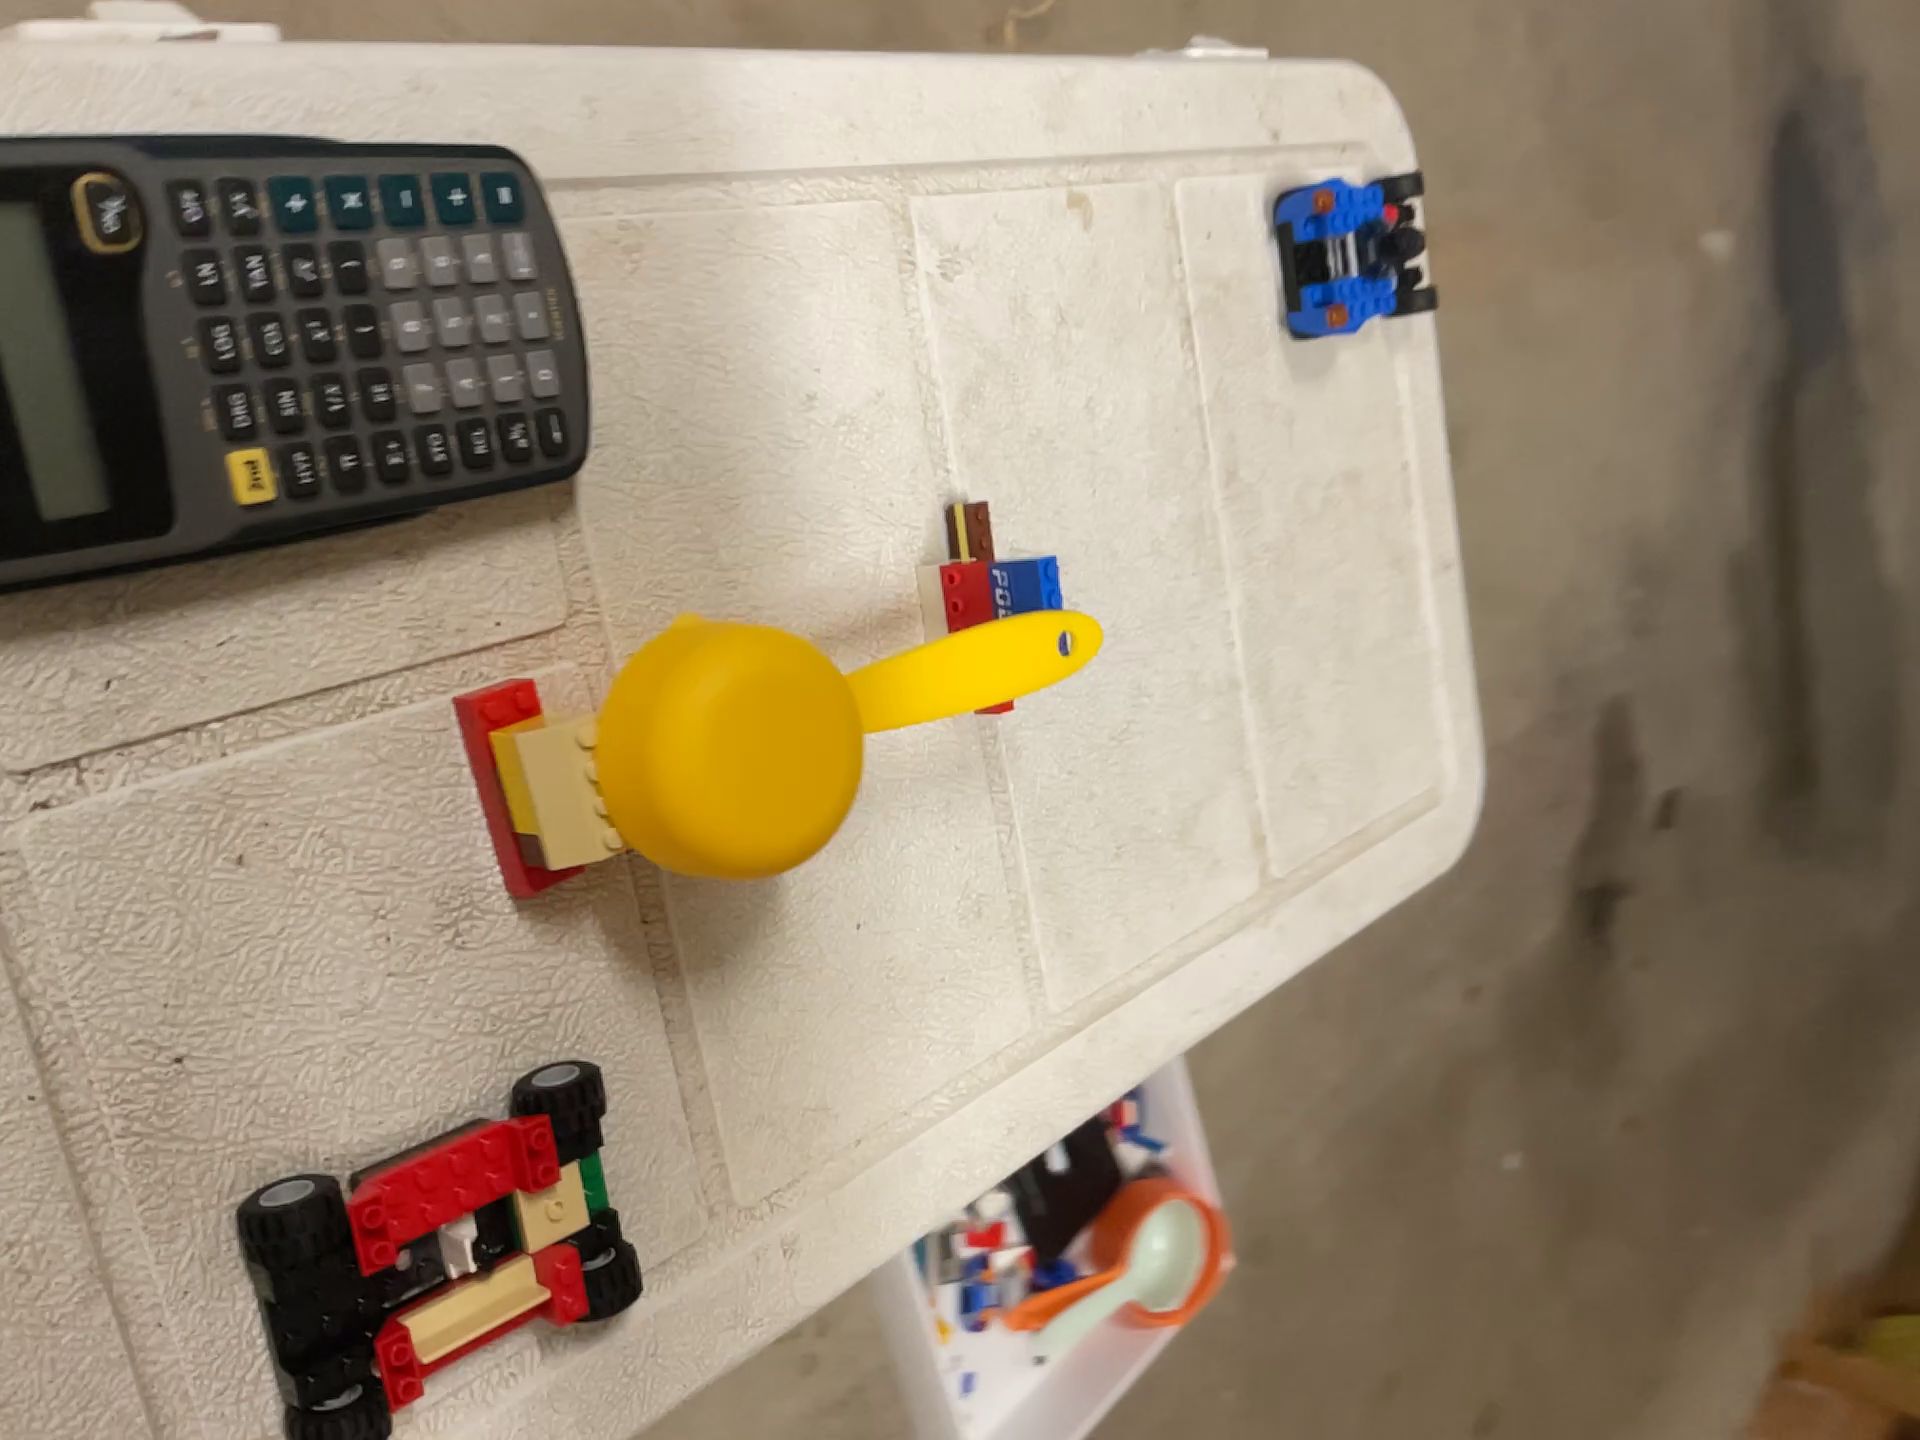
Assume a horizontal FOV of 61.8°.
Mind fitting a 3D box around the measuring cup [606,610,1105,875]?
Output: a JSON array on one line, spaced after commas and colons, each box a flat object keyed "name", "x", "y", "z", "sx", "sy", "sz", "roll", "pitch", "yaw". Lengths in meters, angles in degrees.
[{"name": "measuring cup", "x": -0.012, "y": -0.005, "z": 0.395, "sx": 0.156, "sy": 0.029, "sz": 0.062, "roll": -18, "pitch": 104, "yaw": -38}]
